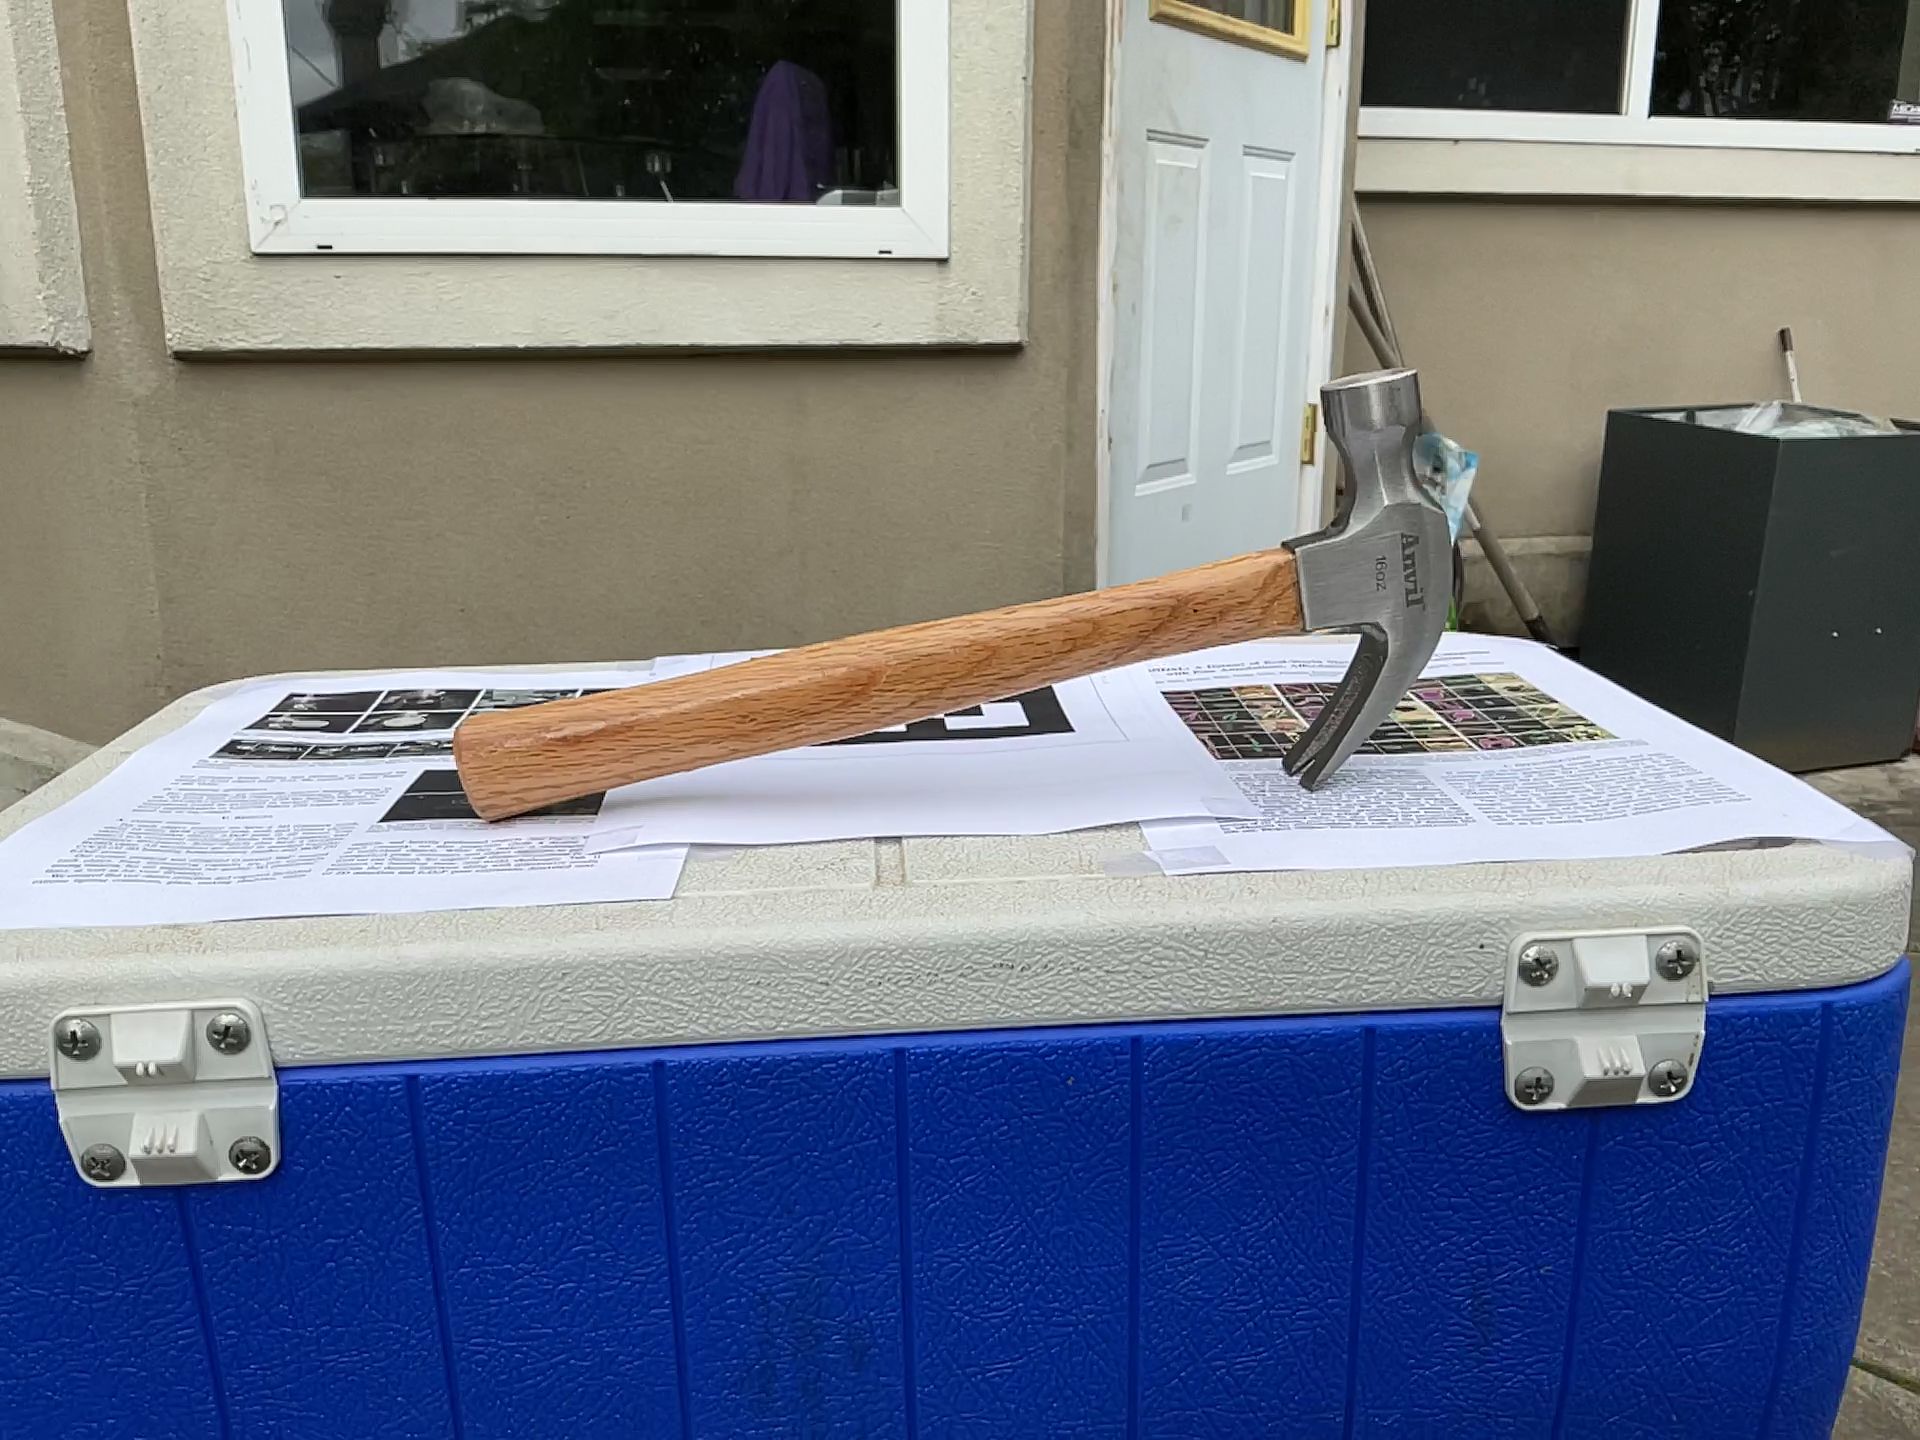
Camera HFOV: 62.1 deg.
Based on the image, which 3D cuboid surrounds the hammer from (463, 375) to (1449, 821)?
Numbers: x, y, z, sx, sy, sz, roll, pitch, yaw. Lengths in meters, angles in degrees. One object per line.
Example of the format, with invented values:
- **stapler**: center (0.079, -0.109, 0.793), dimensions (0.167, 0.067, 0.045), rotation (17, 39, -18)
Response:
- **hammer**: center (0.001, -0.017, 0.536), dimensions (0.331, 0.130, 0.031), rotation (-13, 14, -1)
